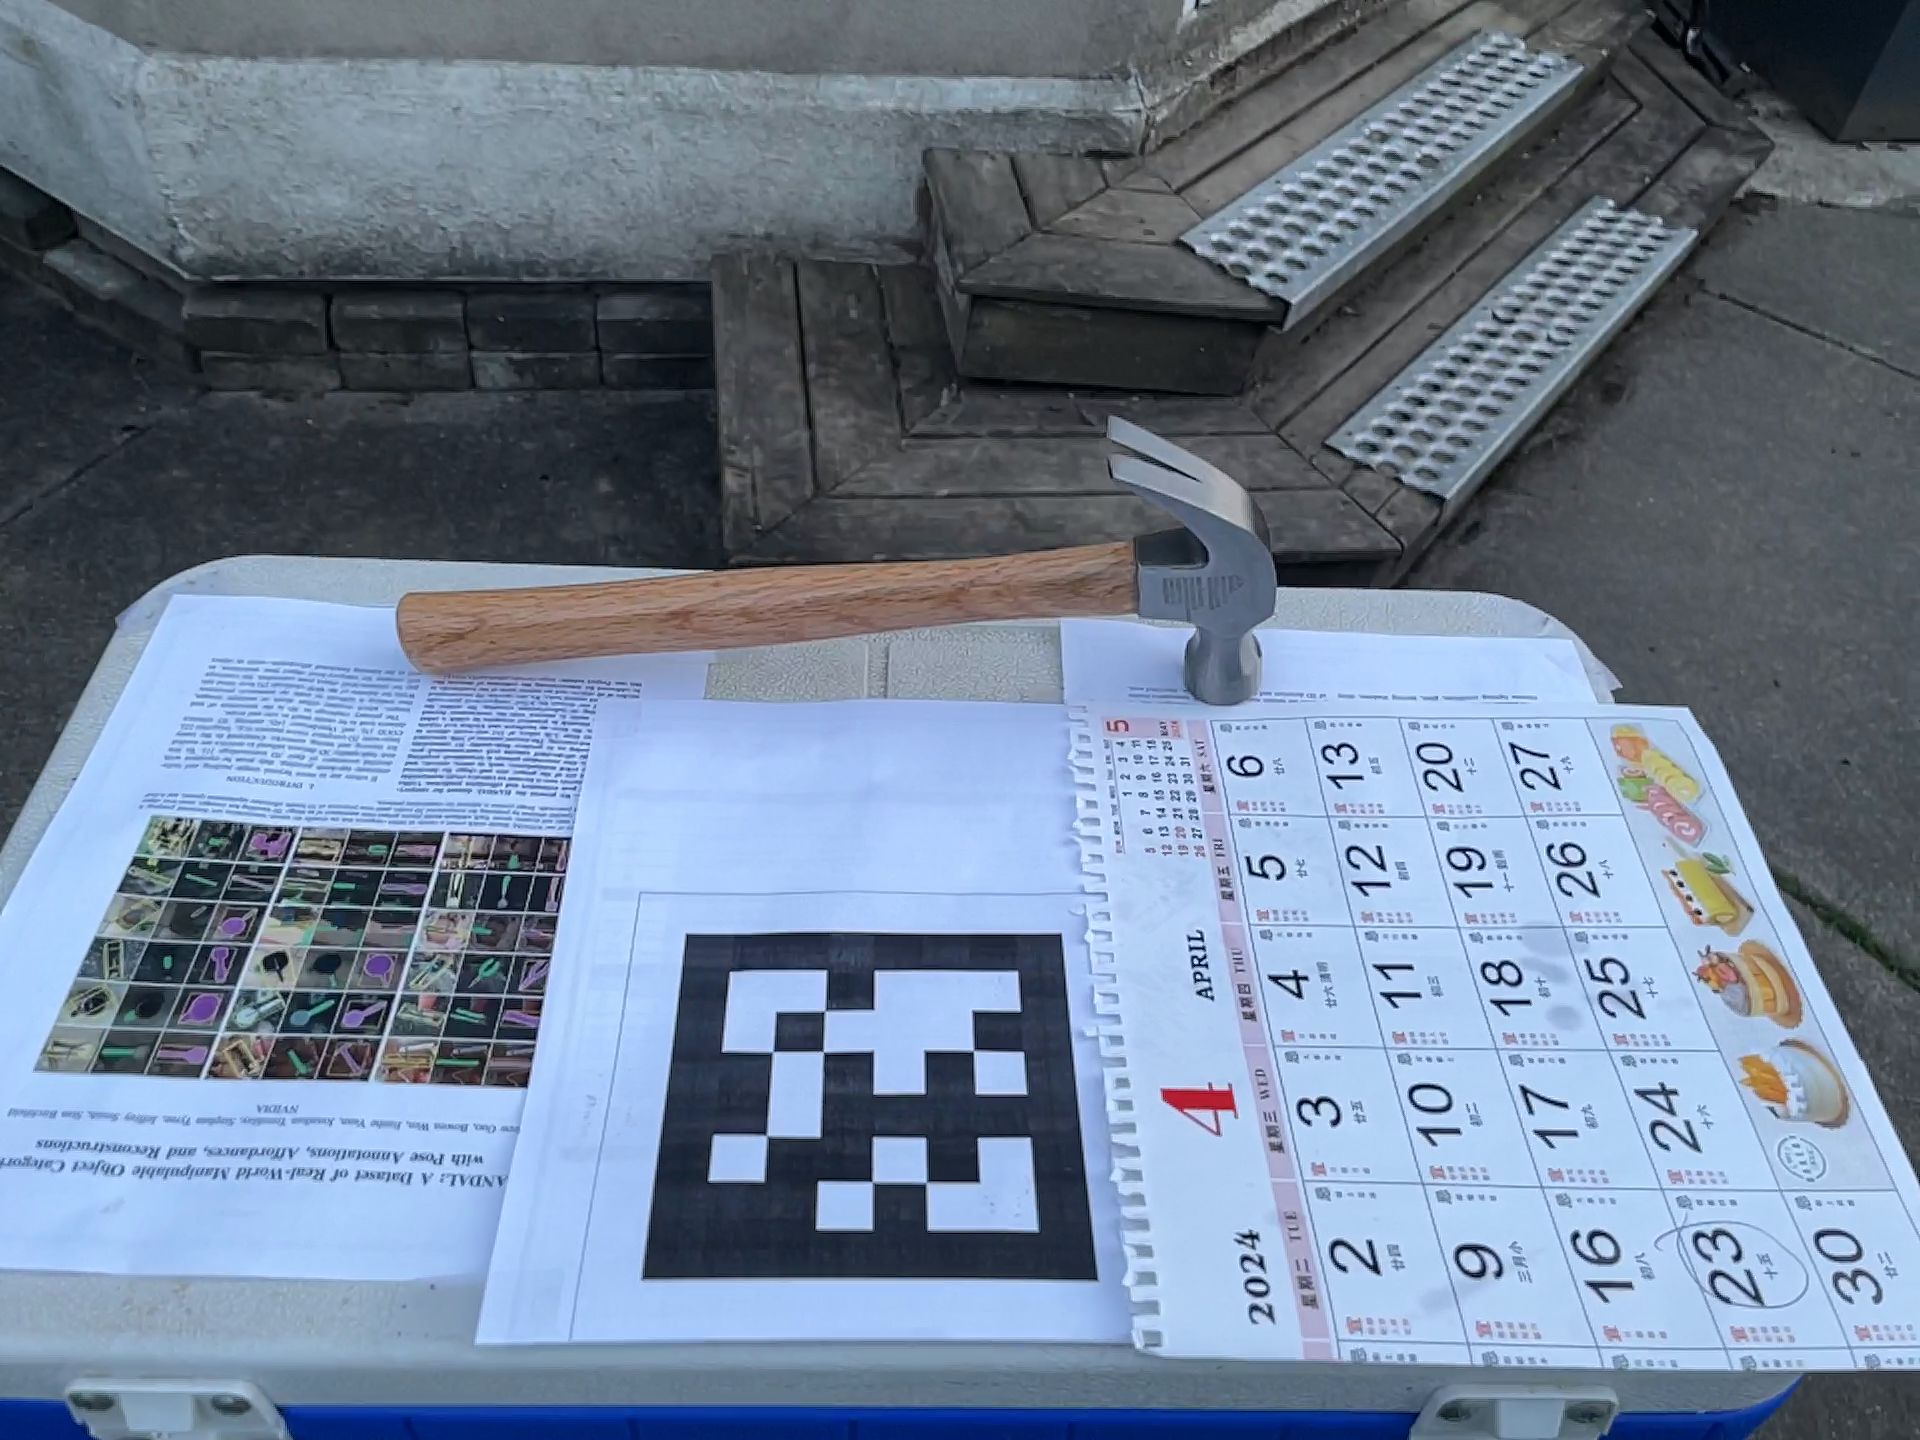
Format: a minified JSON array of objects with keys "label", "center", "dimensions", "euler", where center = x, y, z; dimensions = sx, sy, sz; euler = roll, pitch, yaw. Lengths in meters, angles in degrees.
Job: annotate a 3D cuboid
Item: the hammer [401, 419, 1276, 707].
[{"label":"hammer","center":[-0.047,-0.046,0.588],"dimensions":[0.331,0.130,0.031],"euler":[-4,51,3]}]
